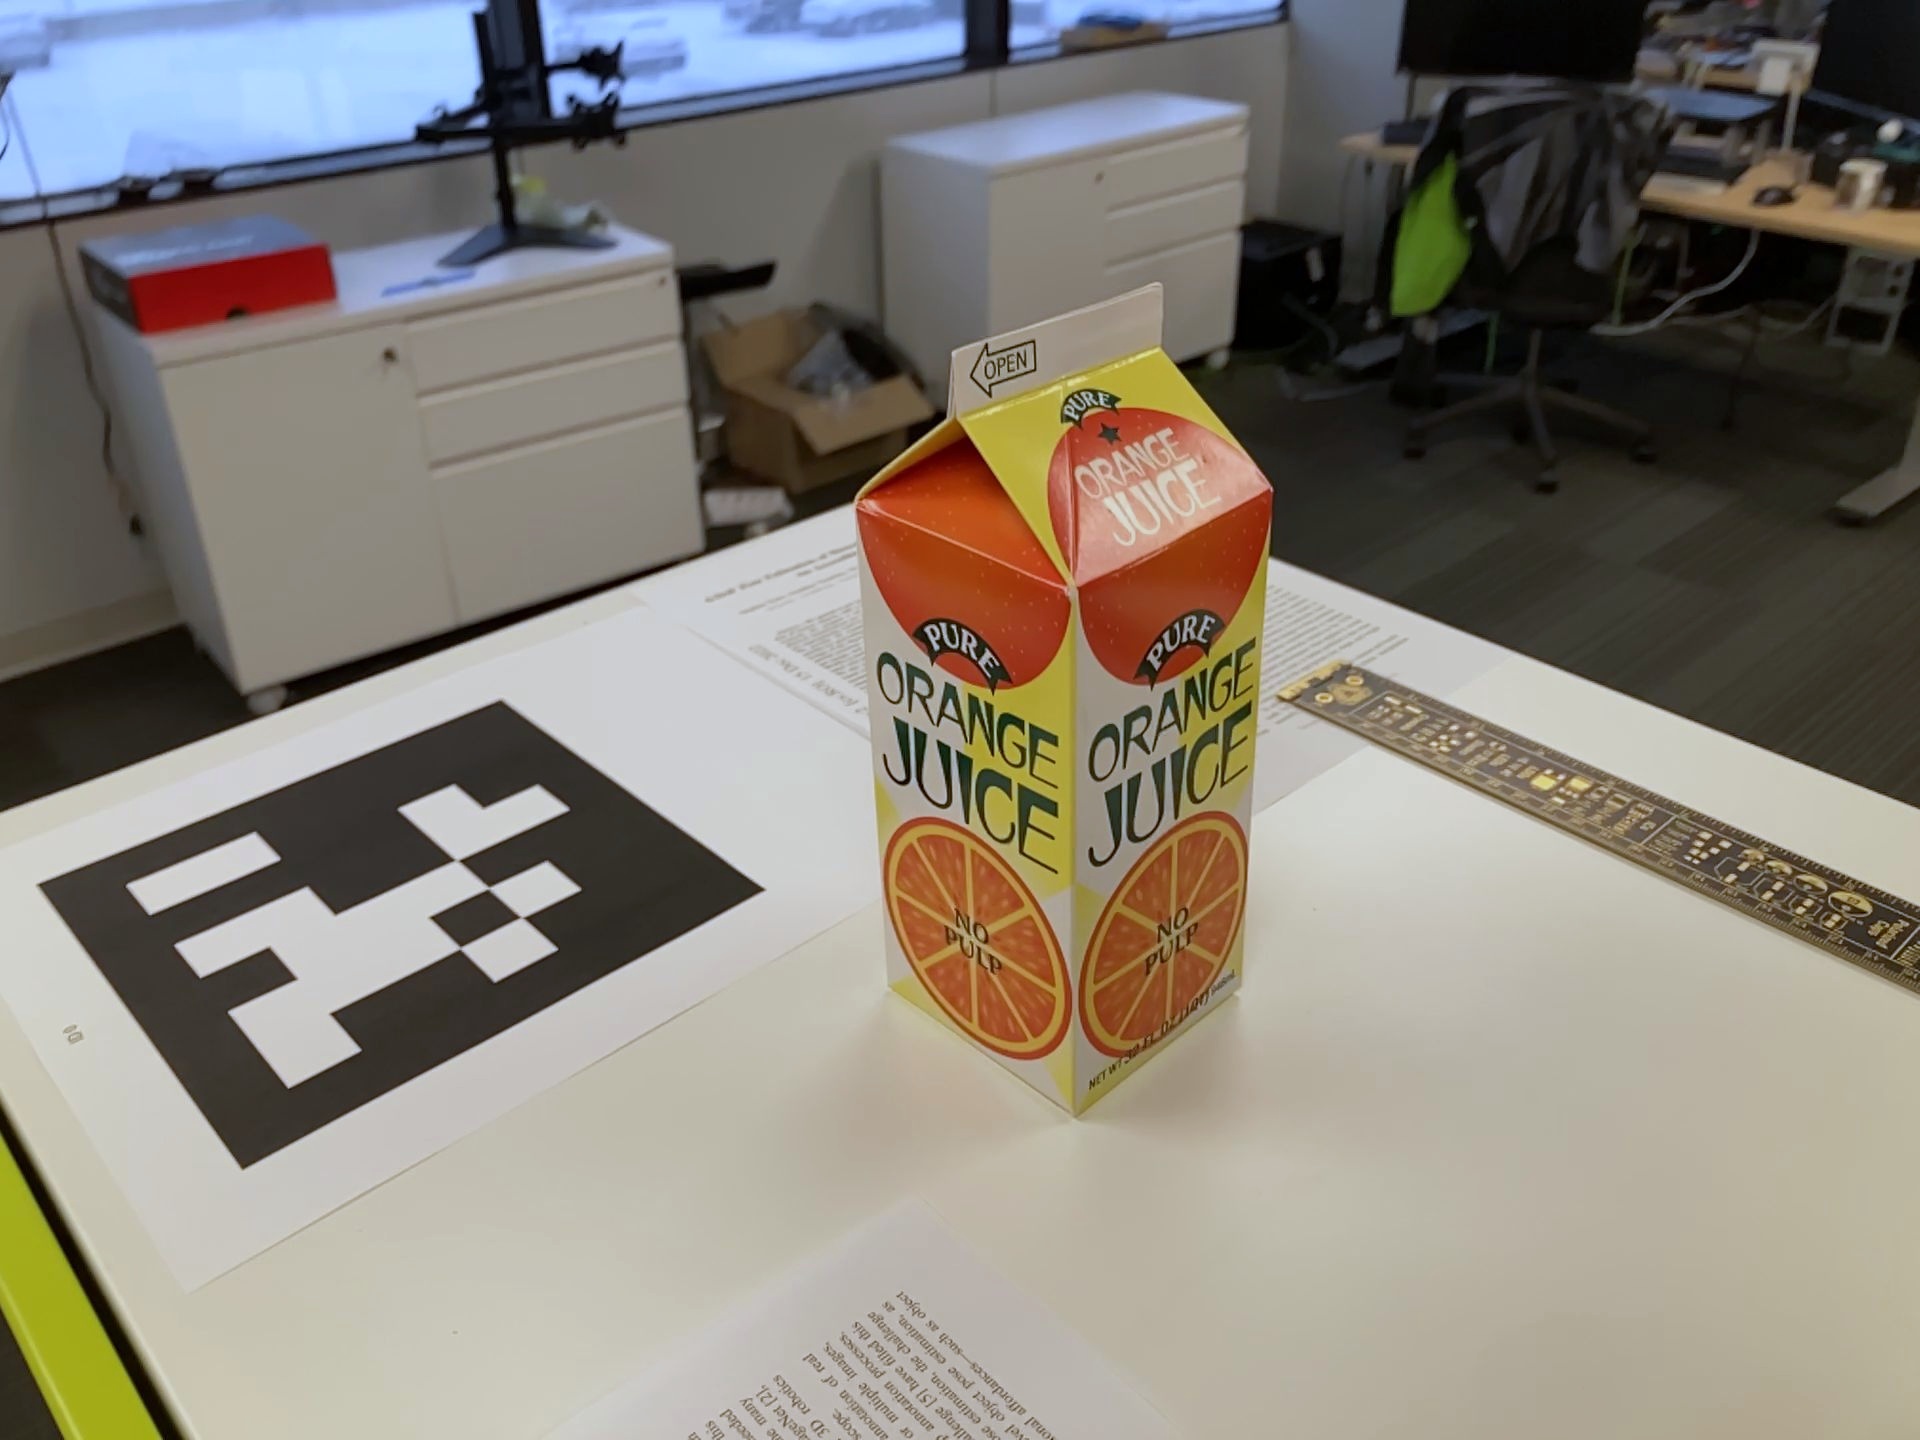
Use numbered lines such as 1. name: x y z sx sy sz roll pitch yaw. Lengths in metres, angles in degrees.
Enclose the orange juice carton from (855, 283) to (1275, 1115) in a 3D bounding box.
1. orange juice carton: 0.027 -0.007 0.396 0.072 0.192 0.073 -27 39 -36
